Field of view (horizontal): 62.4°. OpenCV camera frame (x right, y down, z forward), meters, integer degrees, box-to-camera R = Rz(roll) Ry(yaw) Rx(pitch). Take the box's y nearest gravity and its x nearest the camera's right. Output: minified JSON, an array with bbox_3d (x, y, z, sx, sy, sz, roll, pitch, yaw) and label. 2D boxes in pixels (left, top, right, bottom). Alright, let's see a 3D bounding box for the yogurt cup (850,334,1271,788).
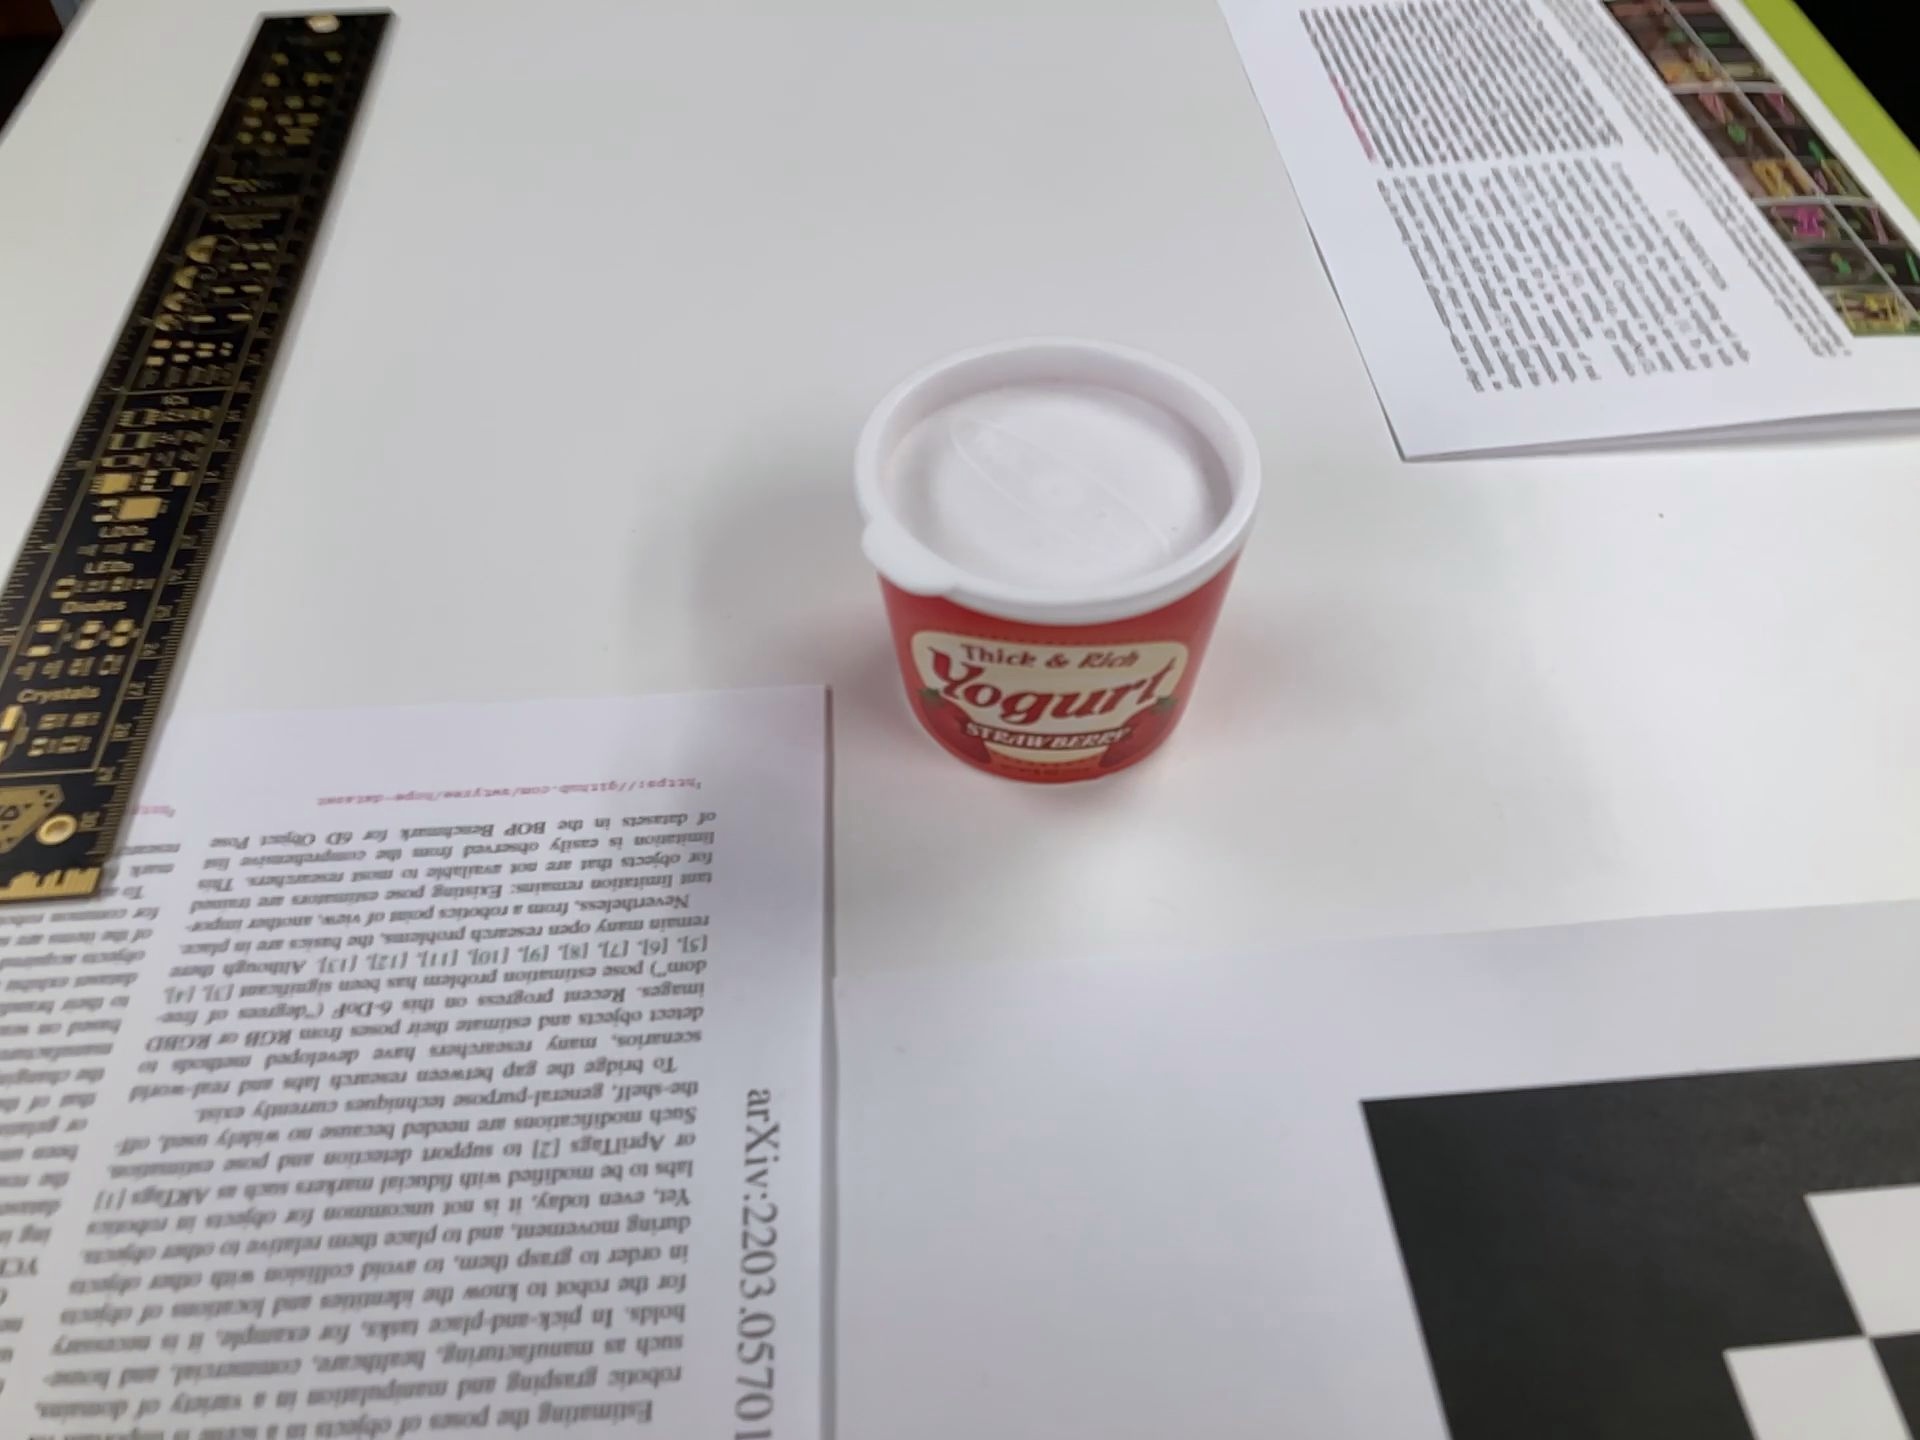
[{"bbox_3d":[0.016,-0.025,0.274,0.072,0.054,0.072,0,49,0],"label":"yogurt cup"}]
